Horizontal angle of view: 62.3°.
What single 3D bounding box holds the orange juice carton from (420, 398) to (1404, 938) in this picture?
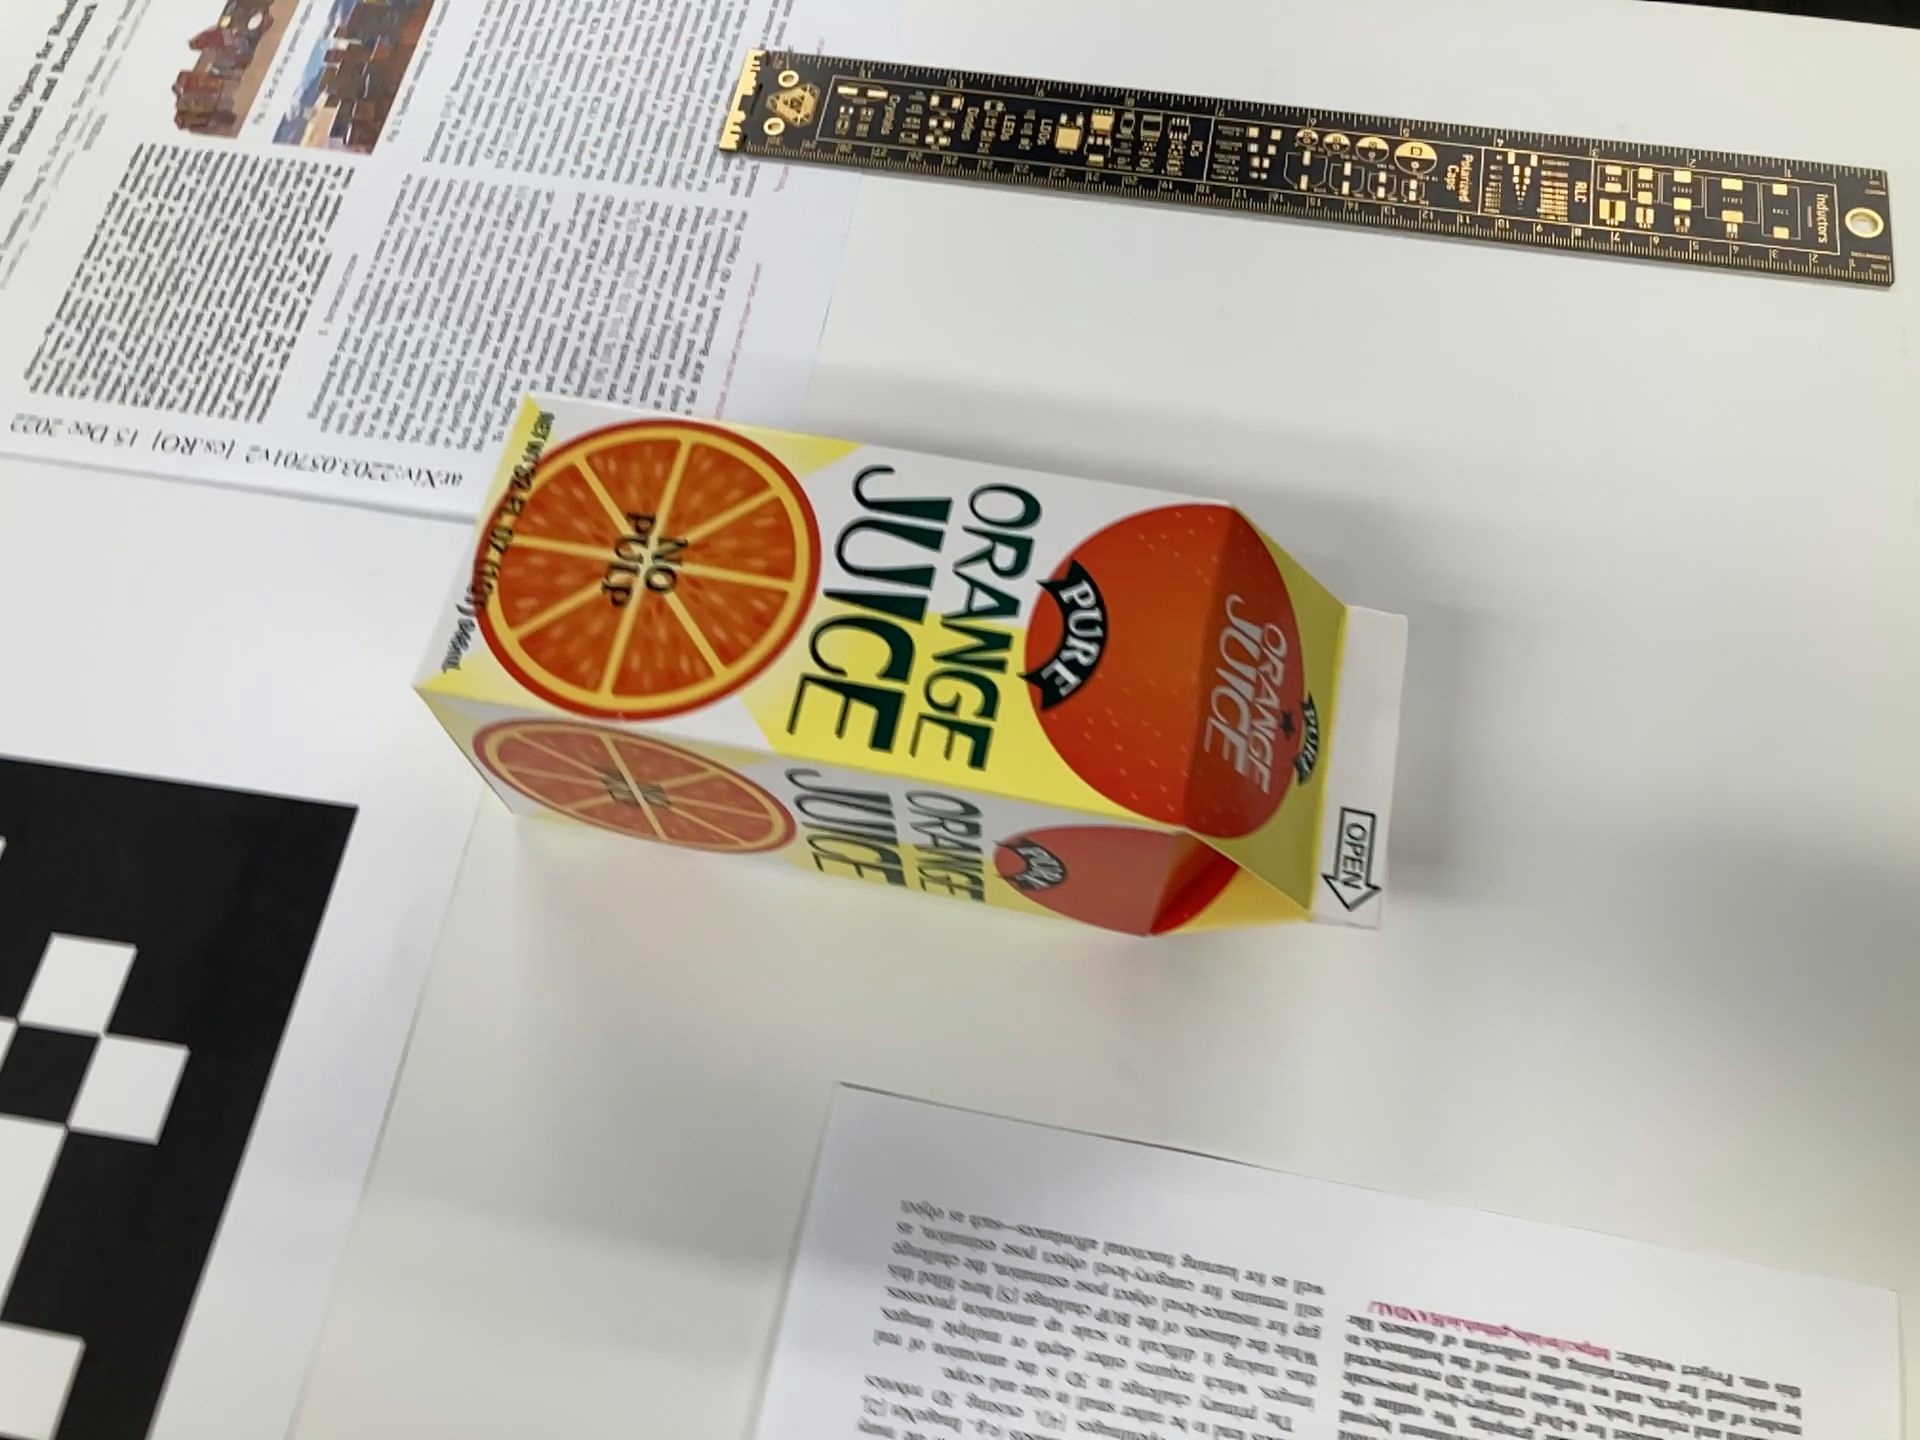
[{"bbox_3d":[-0.004,-0.007,0.341,0.192,0.073,0.072,10,66,7],"label":"orange juice carton"}]
